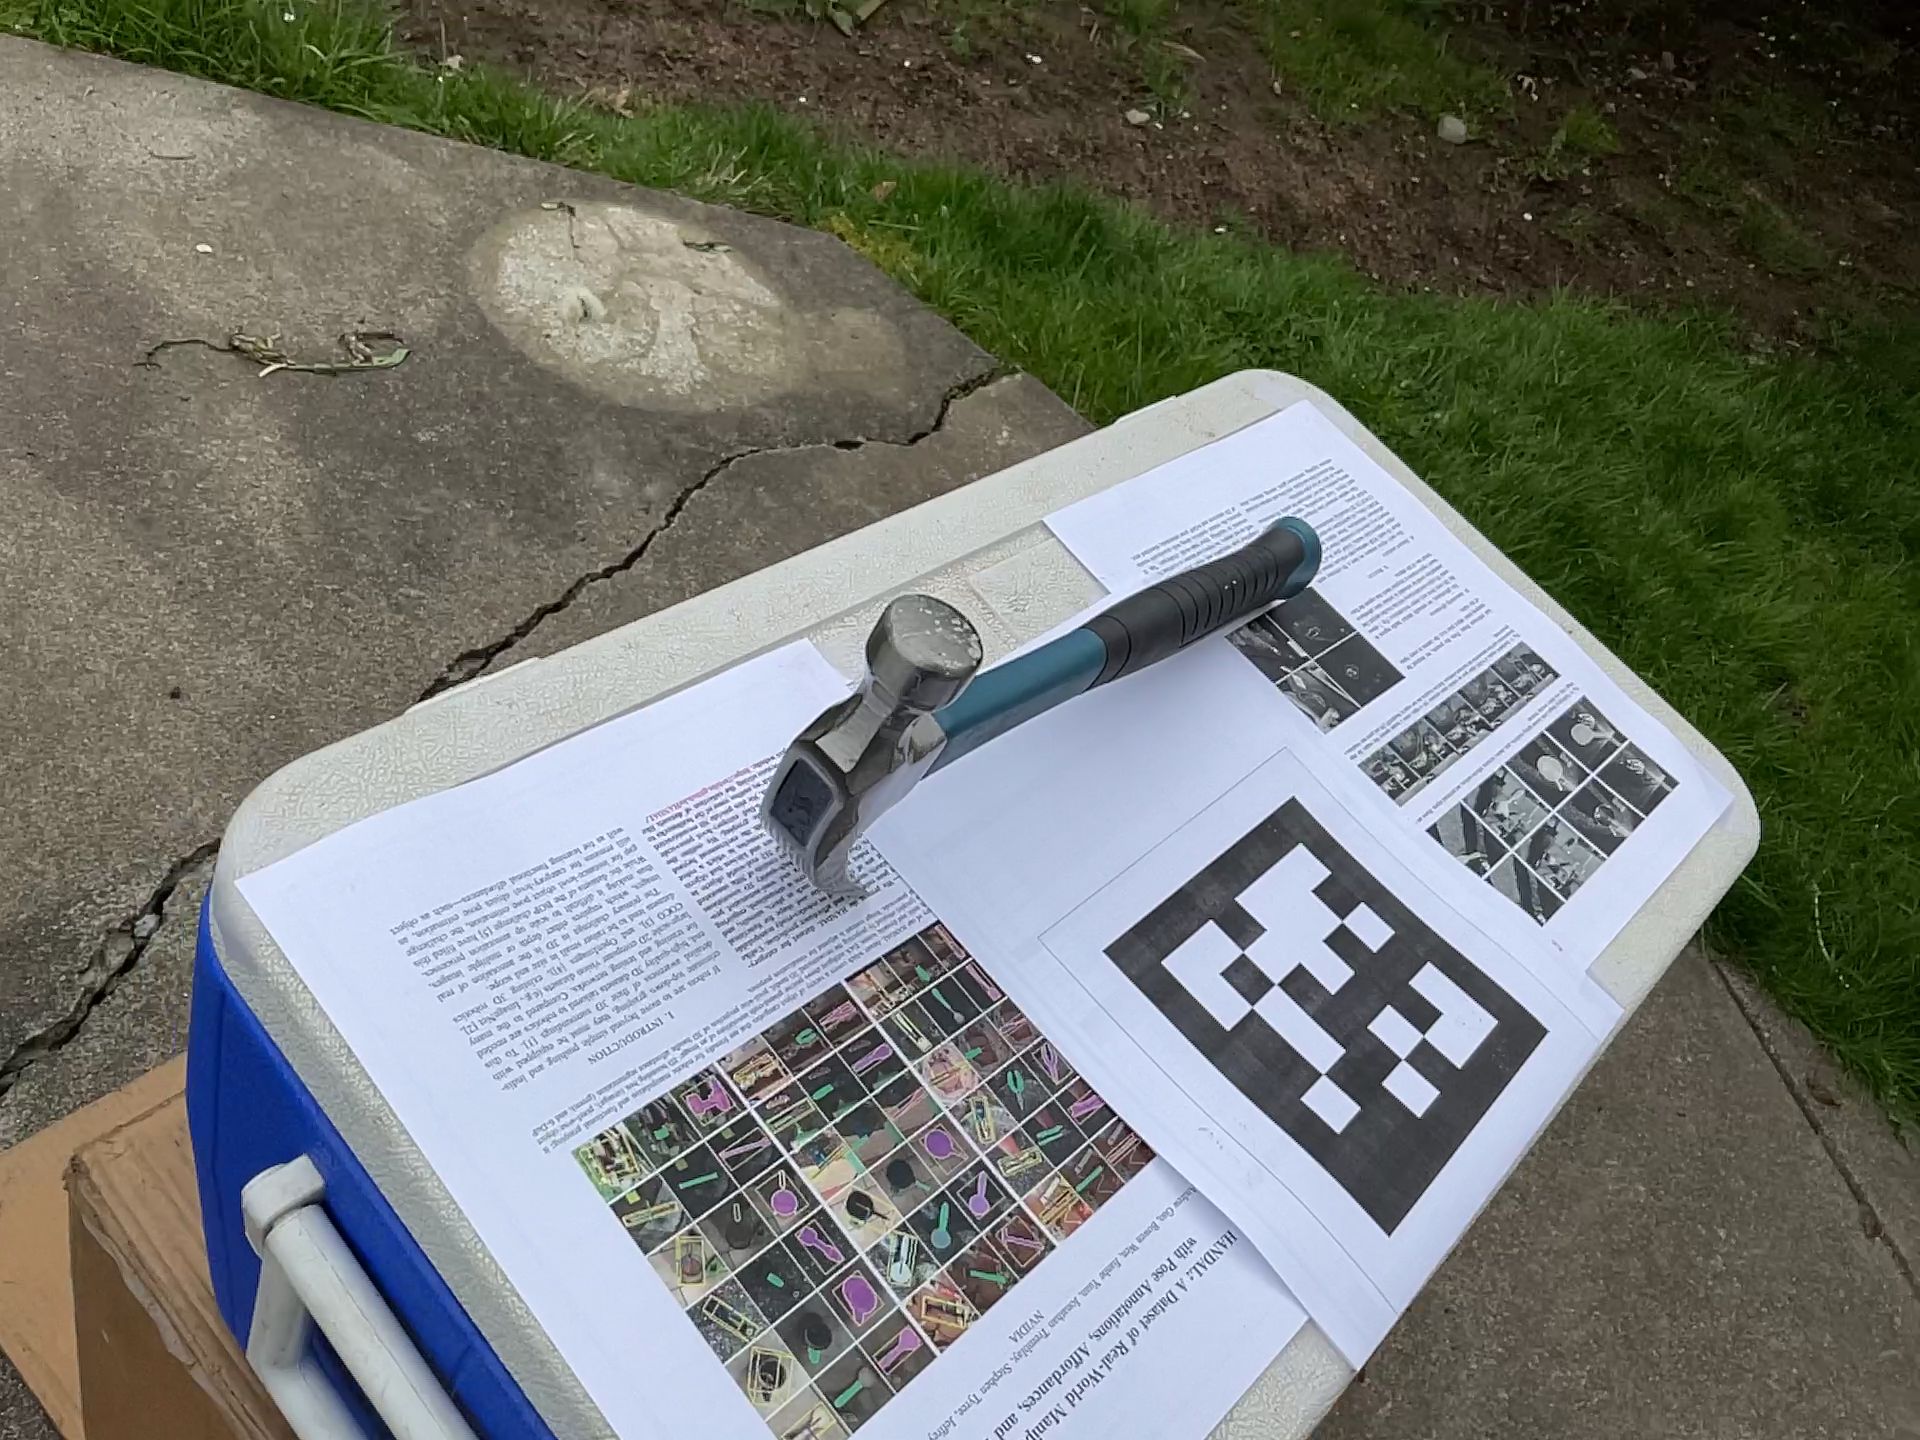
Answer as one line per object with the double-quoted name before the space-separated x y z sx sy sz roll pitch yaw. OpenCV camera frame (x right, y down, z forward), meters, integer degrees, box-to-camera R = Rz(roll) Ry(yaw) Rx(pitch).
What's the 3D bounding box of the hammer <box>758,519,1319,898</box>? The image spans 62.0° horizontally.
"hammer" 0.050 -0.024 0.572 0.033 0.128 0.331 47 38 13
